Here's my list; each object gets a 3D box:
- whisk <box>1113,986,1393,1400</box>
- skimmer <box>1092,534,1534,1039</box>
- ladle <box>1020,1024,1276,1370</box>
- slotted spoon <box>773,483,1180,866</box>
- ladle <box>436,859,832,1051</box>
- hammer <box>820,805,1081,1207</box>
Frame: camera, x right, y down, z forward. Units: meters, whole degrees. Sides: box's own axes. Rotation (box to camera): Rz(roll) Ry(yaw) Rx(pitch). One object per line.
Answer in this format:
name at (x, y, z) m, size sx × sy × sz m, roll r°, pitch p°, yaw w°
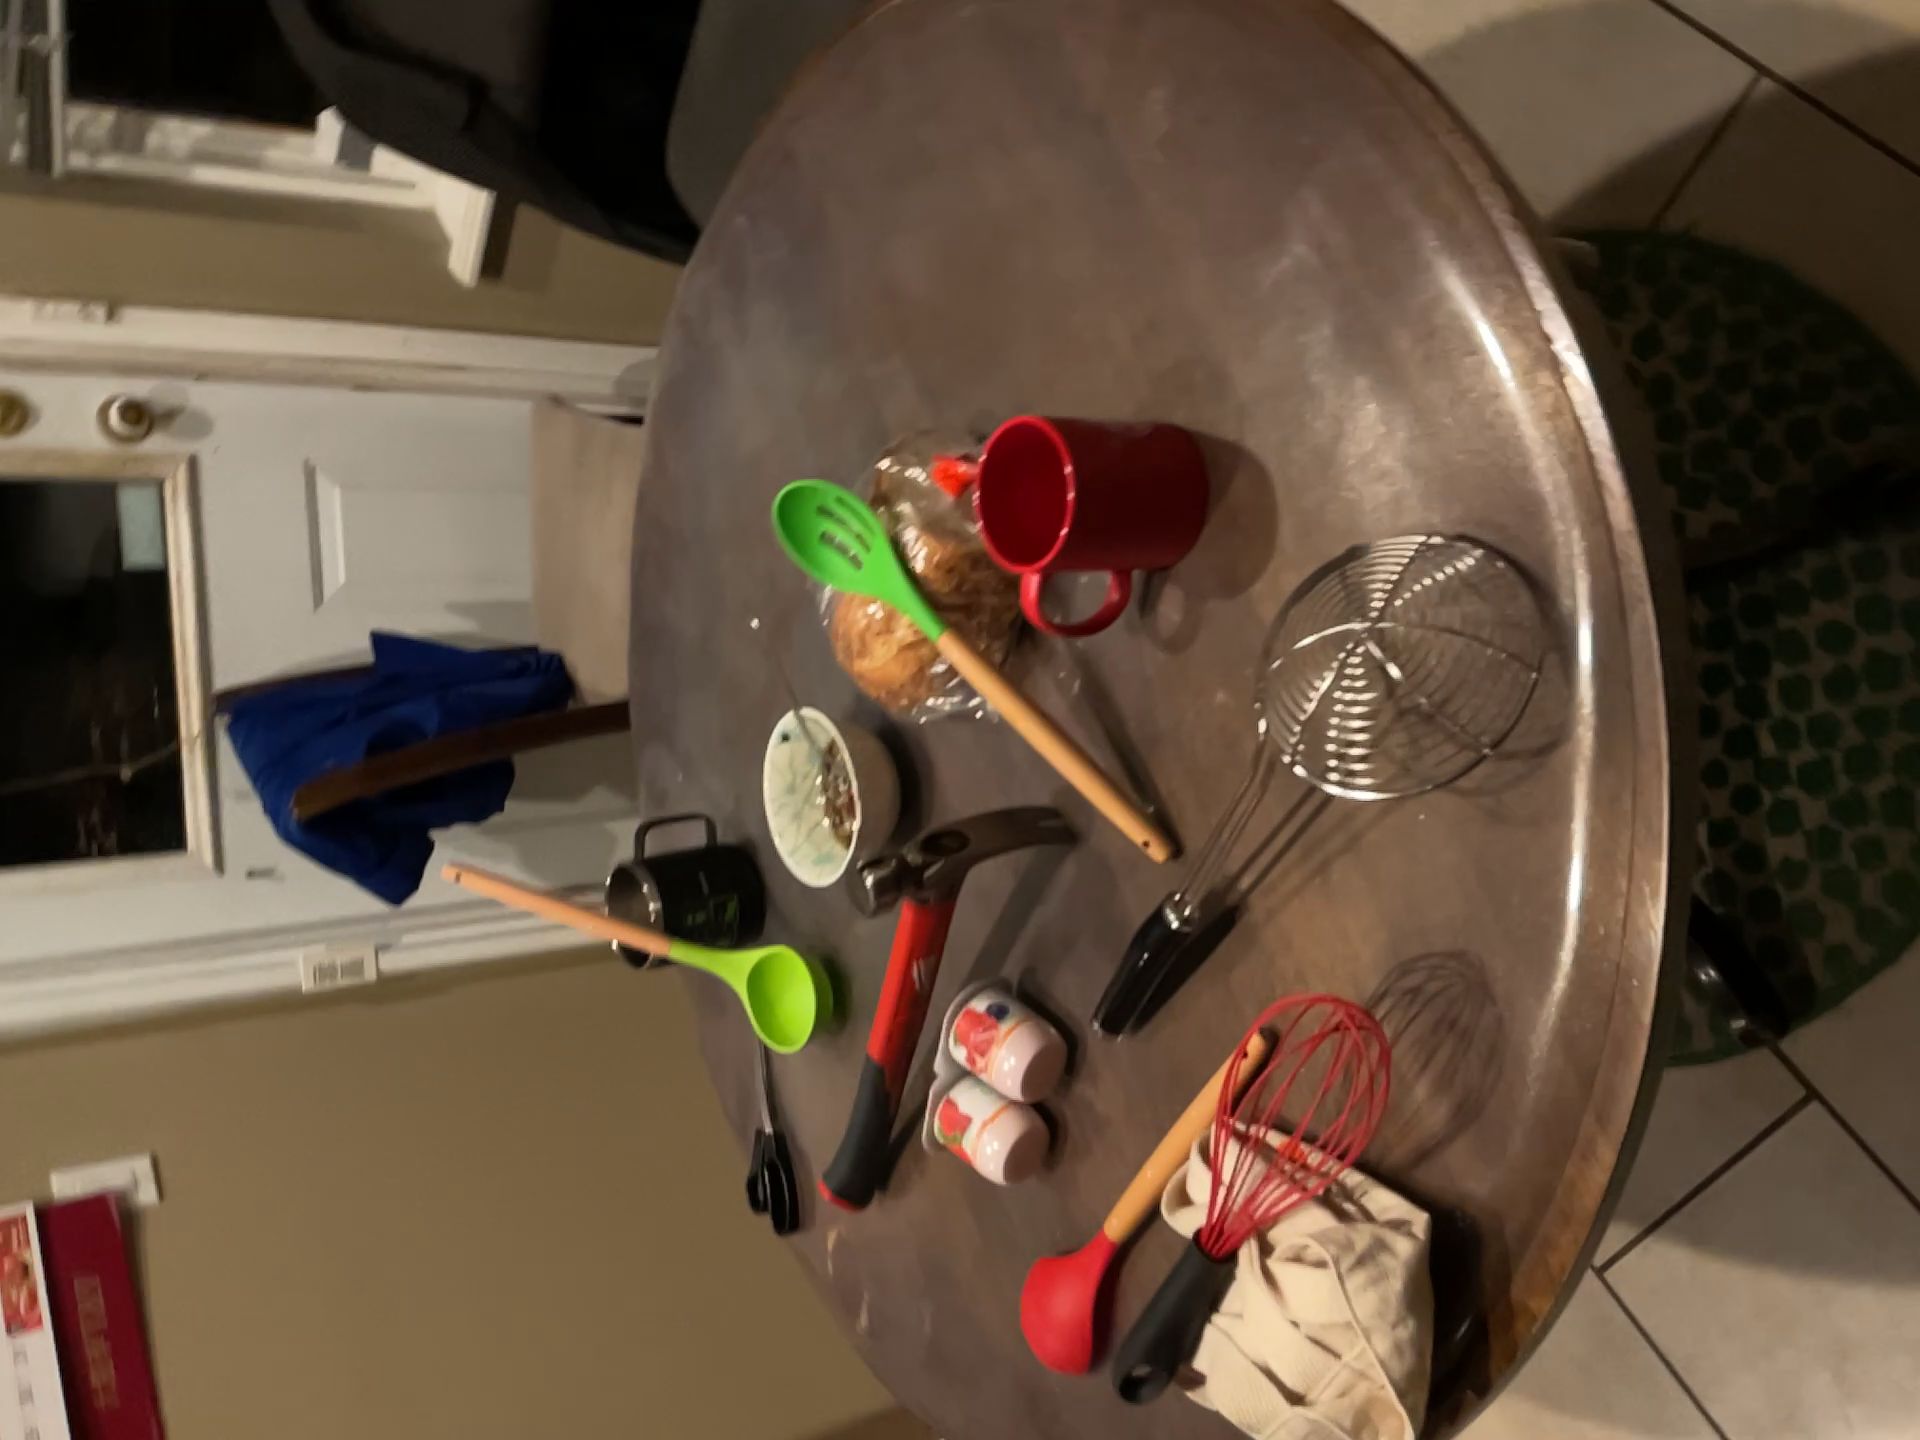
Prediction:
whisk at (0.134, 0.246, 0.786) m, size 0.073 × 0.073 × 0.295 m, roll 47°, pitch 131°, yaw 38°
skimmer at (0.159, 0.059, 0.809) m, size 0.363 × 0.090 × 0.127 m, roll 111°, pitch 145°, yaw -46°
ladle at (0.103, 0.281, 0.918) m, size 0.069 × 0.031 × 0.315 m, roll 53°, pitch 132°, yaw 34°
slotted spoon at (0.009, -0.029, 0.915) m, size 0.314 × 0.031 × 0.070 m, roll 44°, pitch 137°, yaw 13°
ladle at (-0.248, 0.167, 1.193) m, size 0.062 × 0.320 × 0.078 m, roll -64°, pitch -7°, yaw -76°
hammer at (-0.028, 0.204, 1.045) m, size 0.038 × 0.143 × 0.386 m, roll 55°, pitch 146°, yaw 35°
